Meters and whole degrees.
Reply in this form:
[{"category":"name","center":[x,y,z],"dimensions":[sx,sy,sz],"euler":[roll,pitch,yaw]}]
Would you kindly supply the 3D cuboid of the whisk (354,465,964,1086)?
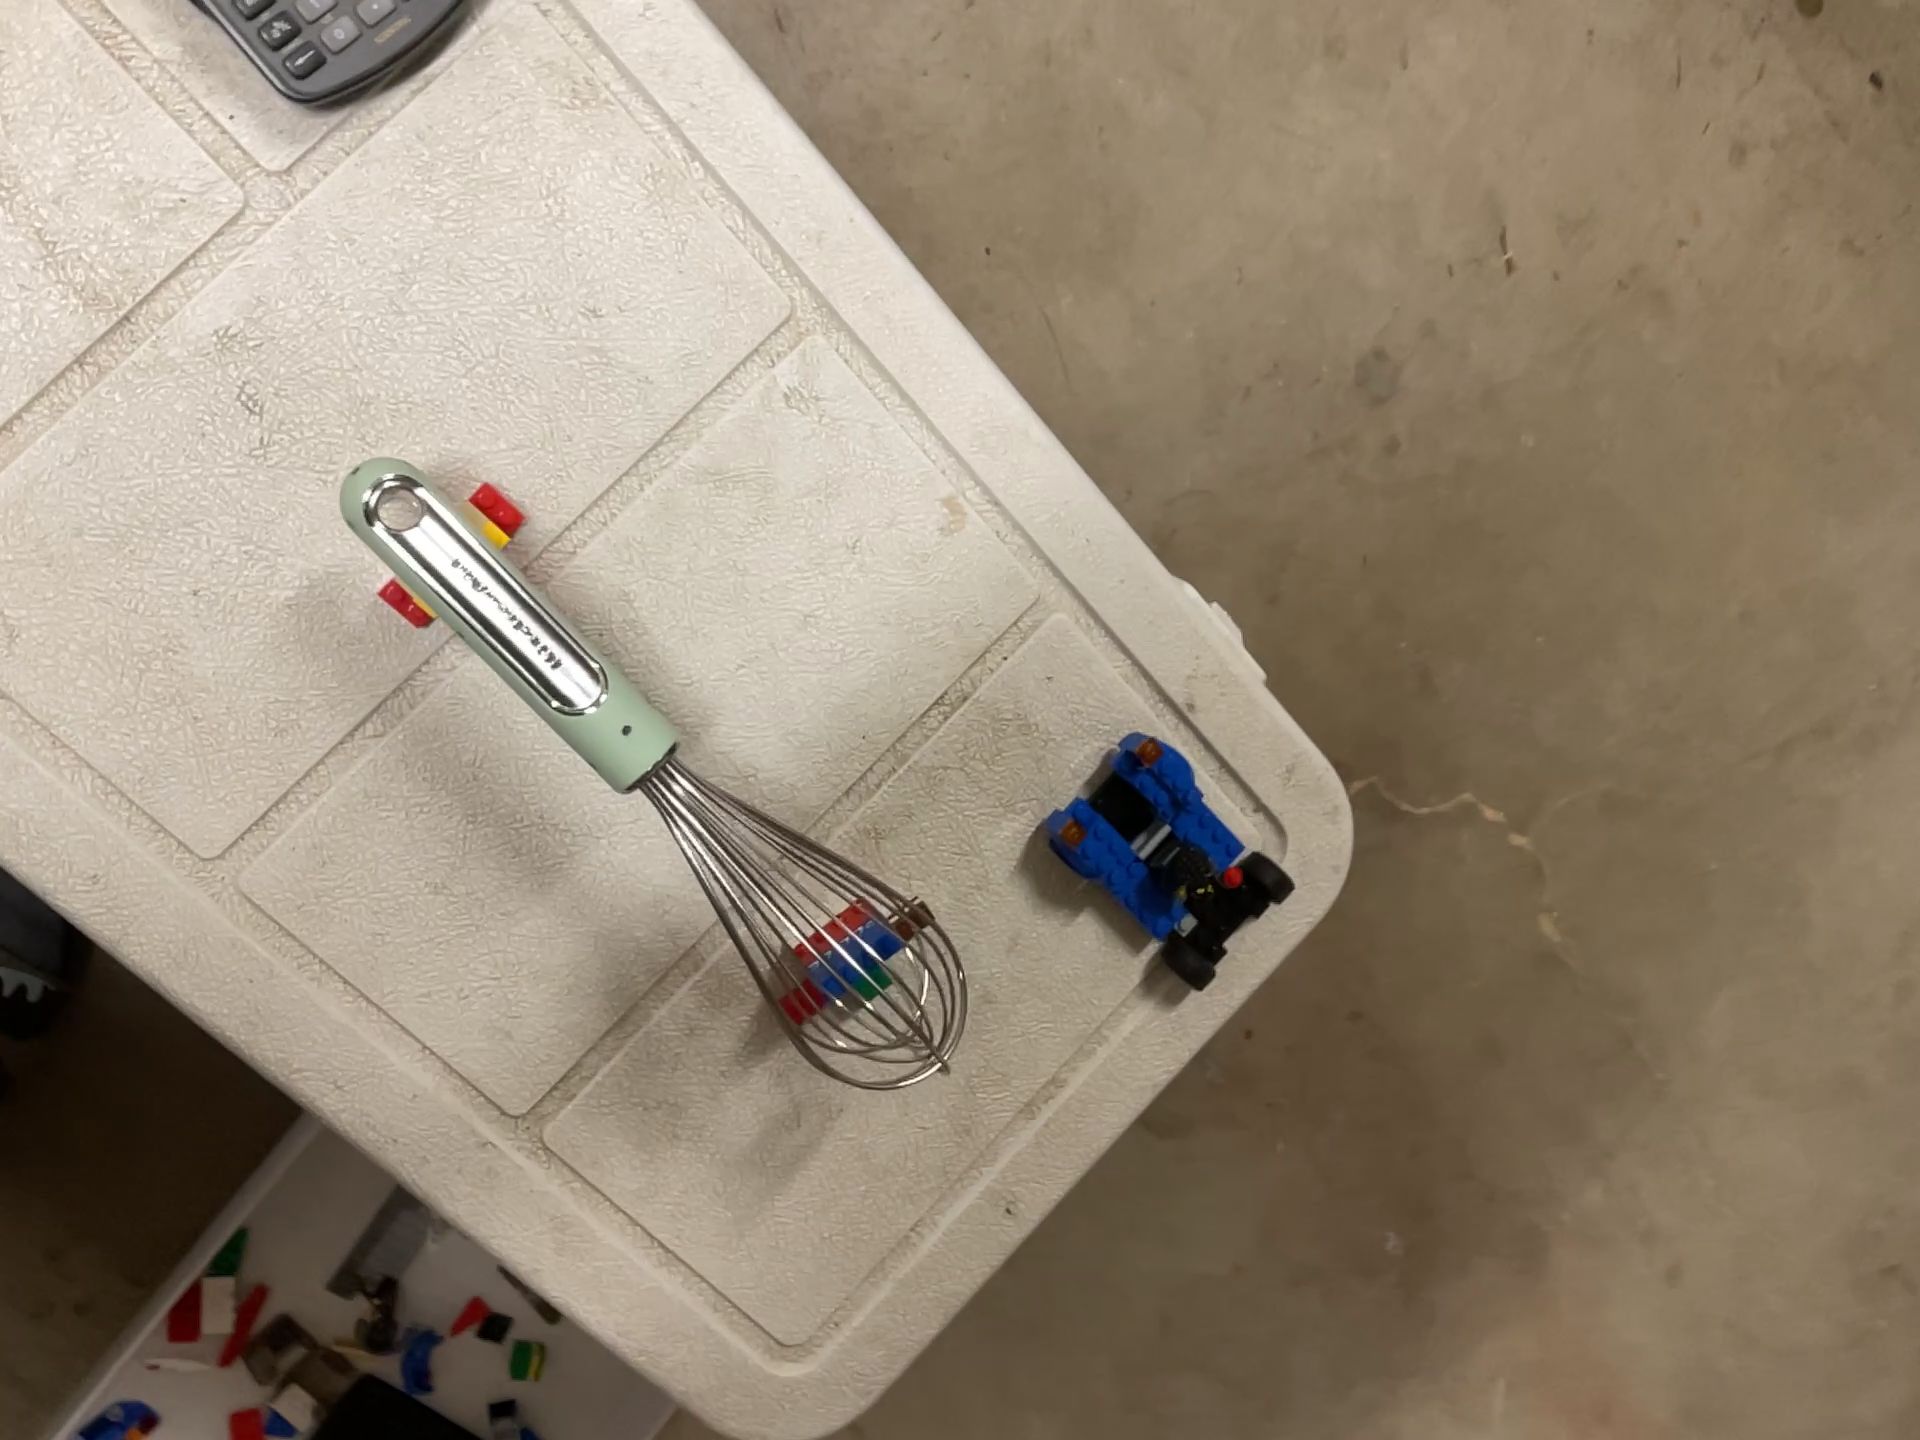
[{"category":"whisk","center":[-0.087,0.019,0.479],"dimensions":[0.058,0.059,0.246],"euler":[-46,102,-14]}]
